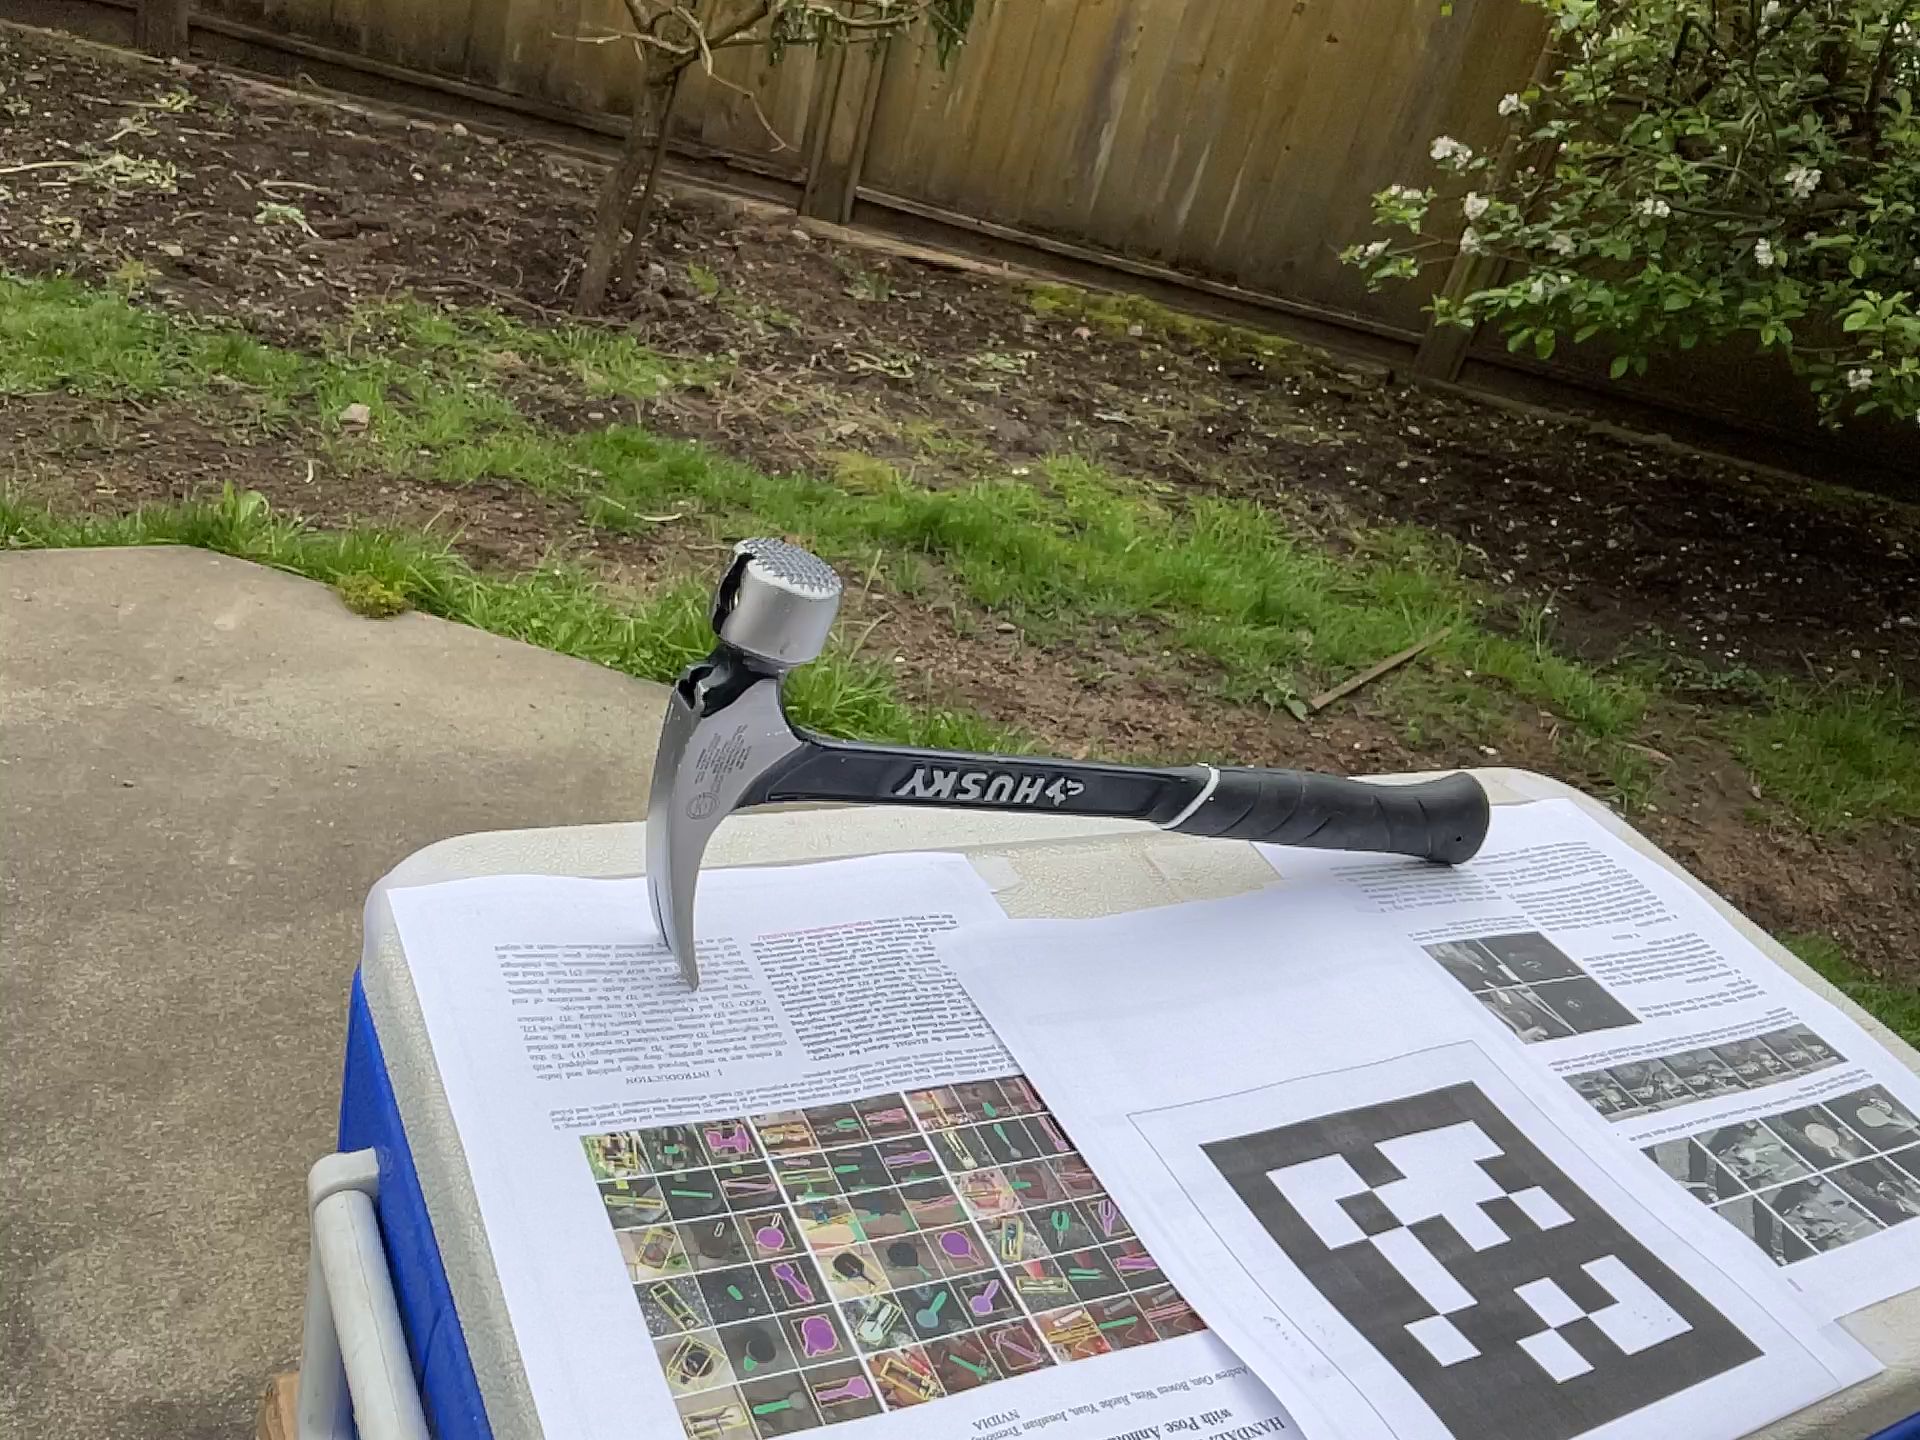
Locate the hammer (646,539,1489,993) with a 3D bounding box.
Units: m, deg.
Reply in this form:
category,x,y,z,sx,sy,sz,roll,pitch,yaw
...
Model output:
category,x,y,z,sx,sy,sz,roll,pitch,yaw
hammer,0.069,0.034,0.604,0.408,0.149,0.036,7,28,-38
